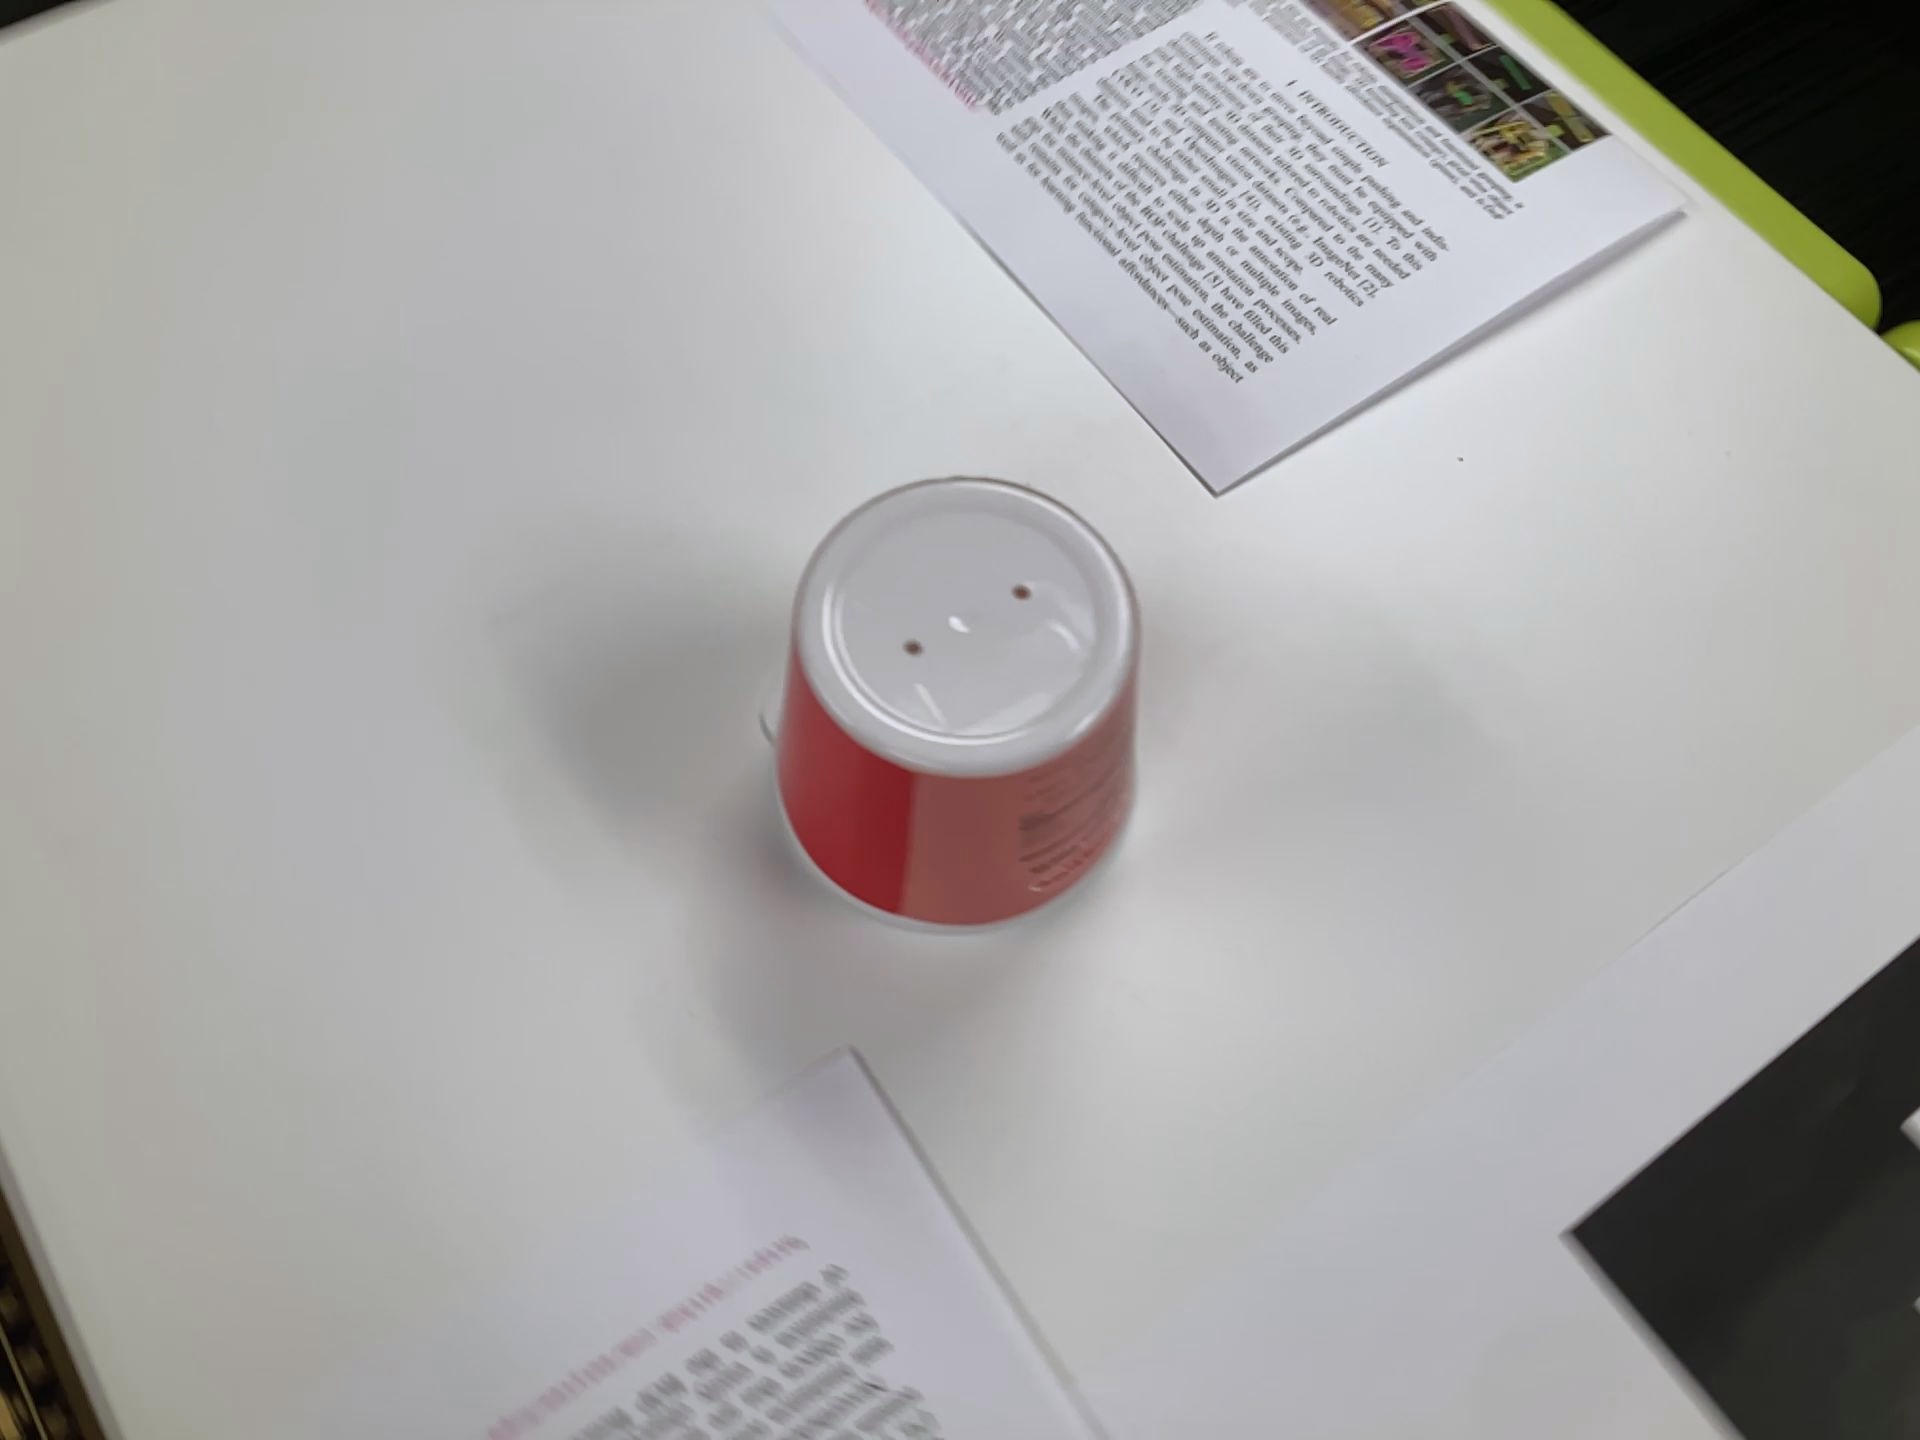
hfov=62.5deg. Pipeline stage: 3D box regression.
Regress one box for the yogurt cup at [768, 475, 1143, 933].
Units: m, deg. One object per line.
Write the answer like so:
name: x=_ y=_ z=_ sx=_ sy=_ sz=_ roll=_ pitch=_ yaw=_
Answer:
yogurt cup: x=0.000 y=-0.004 z=0.269 sx=0.072 sy=0.054 sz=0.072 roll=1 pitch=62 yaw=-2
